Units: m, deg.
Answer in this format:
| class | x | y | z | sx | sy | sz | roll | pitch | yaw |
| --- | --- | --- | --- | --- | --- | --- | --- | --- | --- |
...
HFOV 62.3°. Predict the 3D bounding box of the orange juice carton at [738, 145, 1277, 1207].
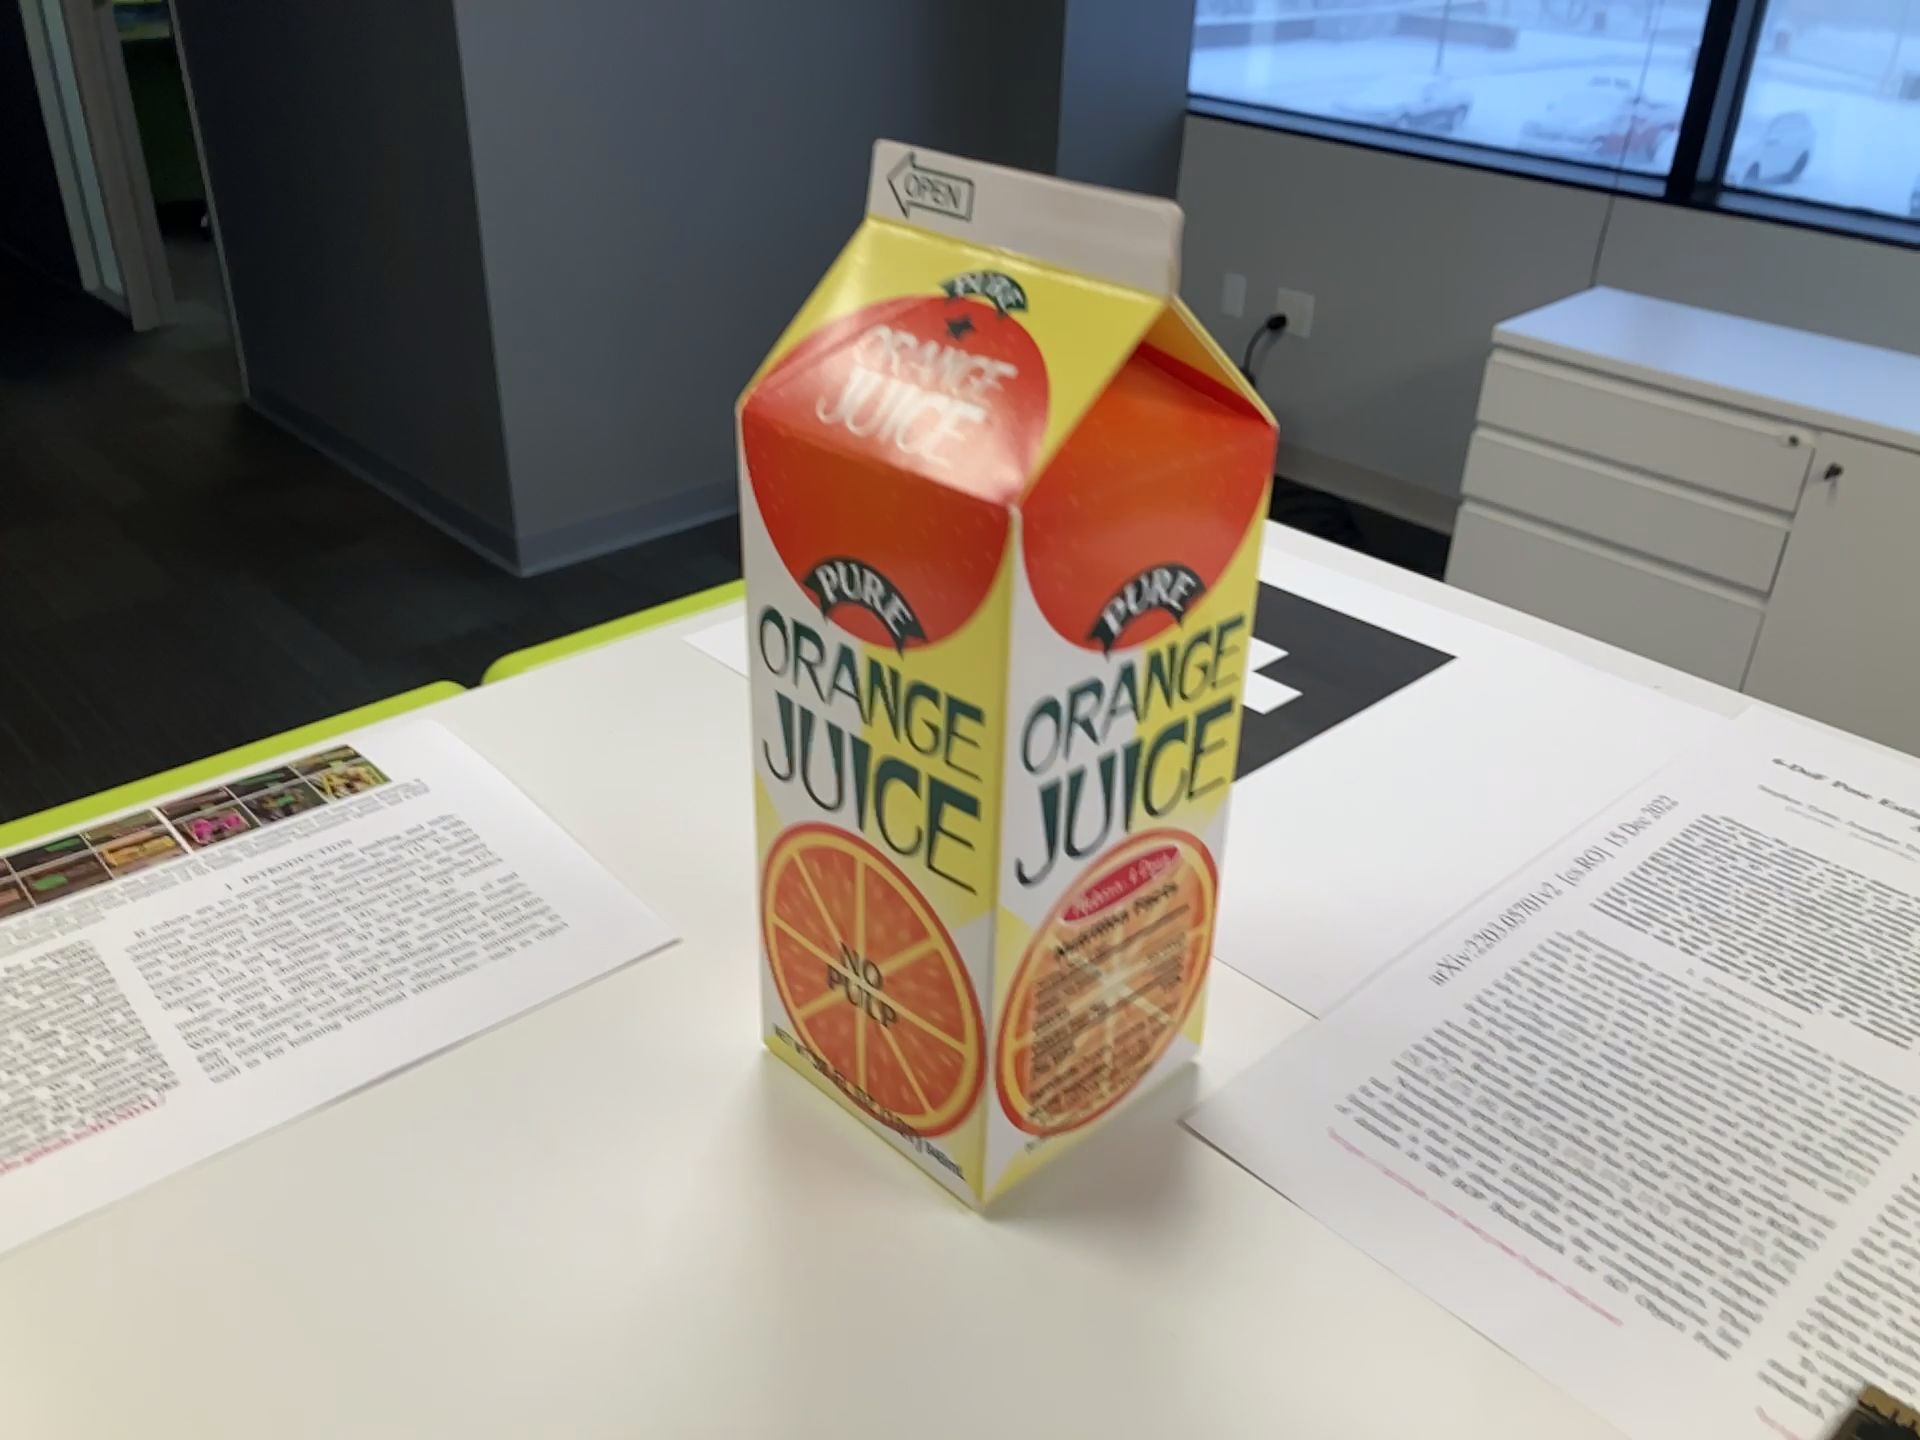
| class | x | y | z | sx | sy | sz | roll | pitch | yaw |
| --- | --- | --- | --- | --- | --- | --- | --- | --- | --- |
| orange juice carton | 0.007 | -0.009 | 0.316 | 0.073 | 0.192 | 0.072 | -23 | 37 | -39 |
